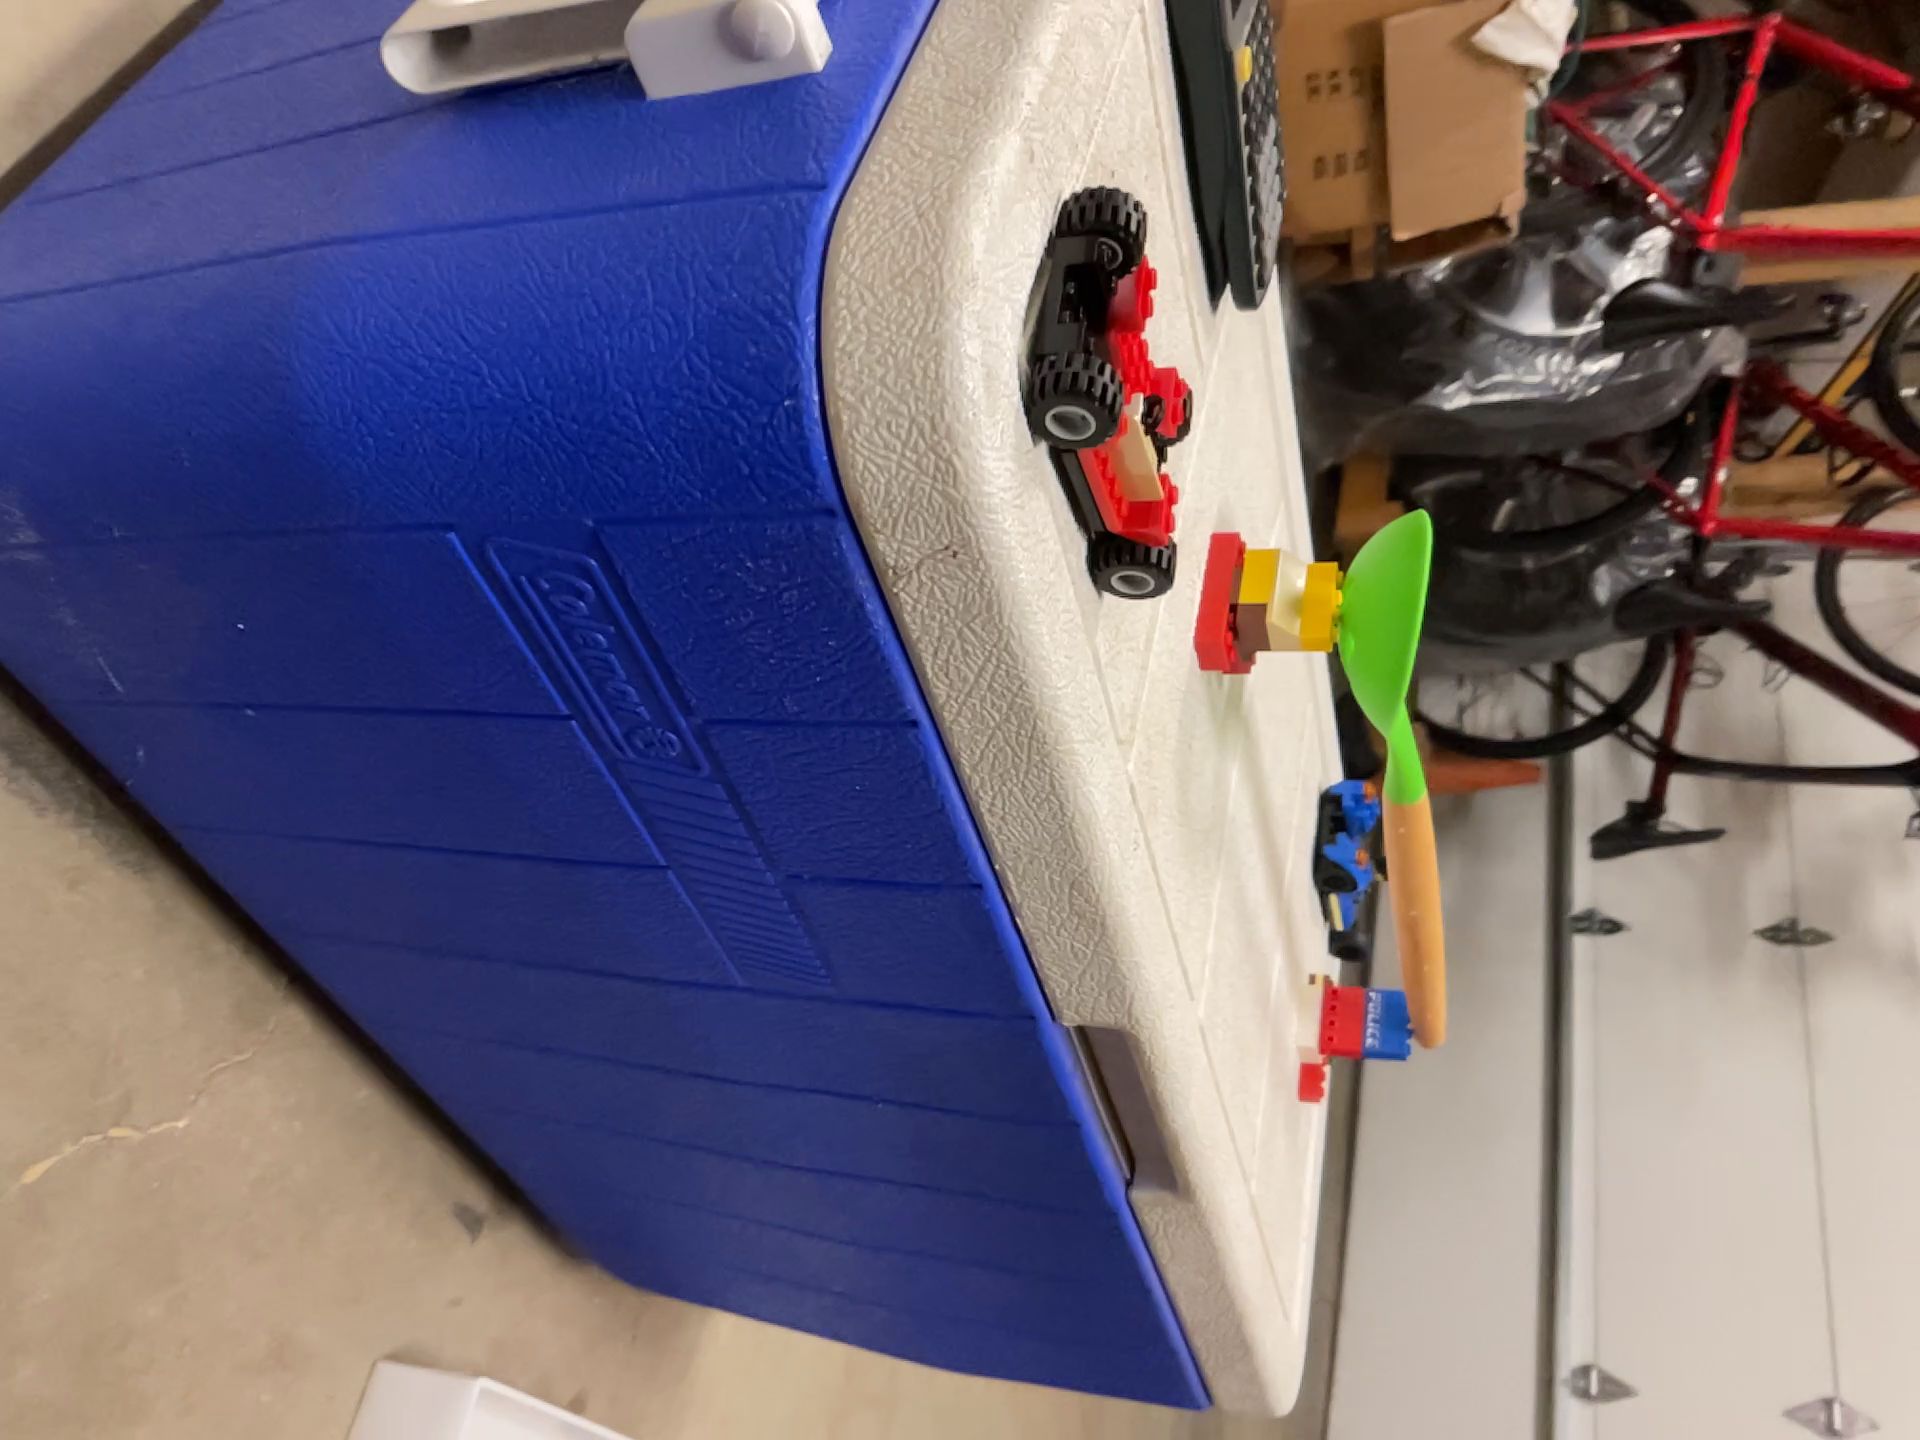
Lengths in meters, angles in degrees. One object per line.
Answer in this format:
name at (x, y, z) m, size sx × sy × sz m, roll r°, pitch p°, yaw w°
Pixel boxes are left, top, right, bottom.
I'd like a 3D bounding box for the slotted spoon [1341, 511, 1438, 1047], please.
slotted spoon at (0.170, 0.044, 0.610) m, size 0.313 × 0.031 × 0.070 m, roll 69°, pitch 26°, yaw -47°
